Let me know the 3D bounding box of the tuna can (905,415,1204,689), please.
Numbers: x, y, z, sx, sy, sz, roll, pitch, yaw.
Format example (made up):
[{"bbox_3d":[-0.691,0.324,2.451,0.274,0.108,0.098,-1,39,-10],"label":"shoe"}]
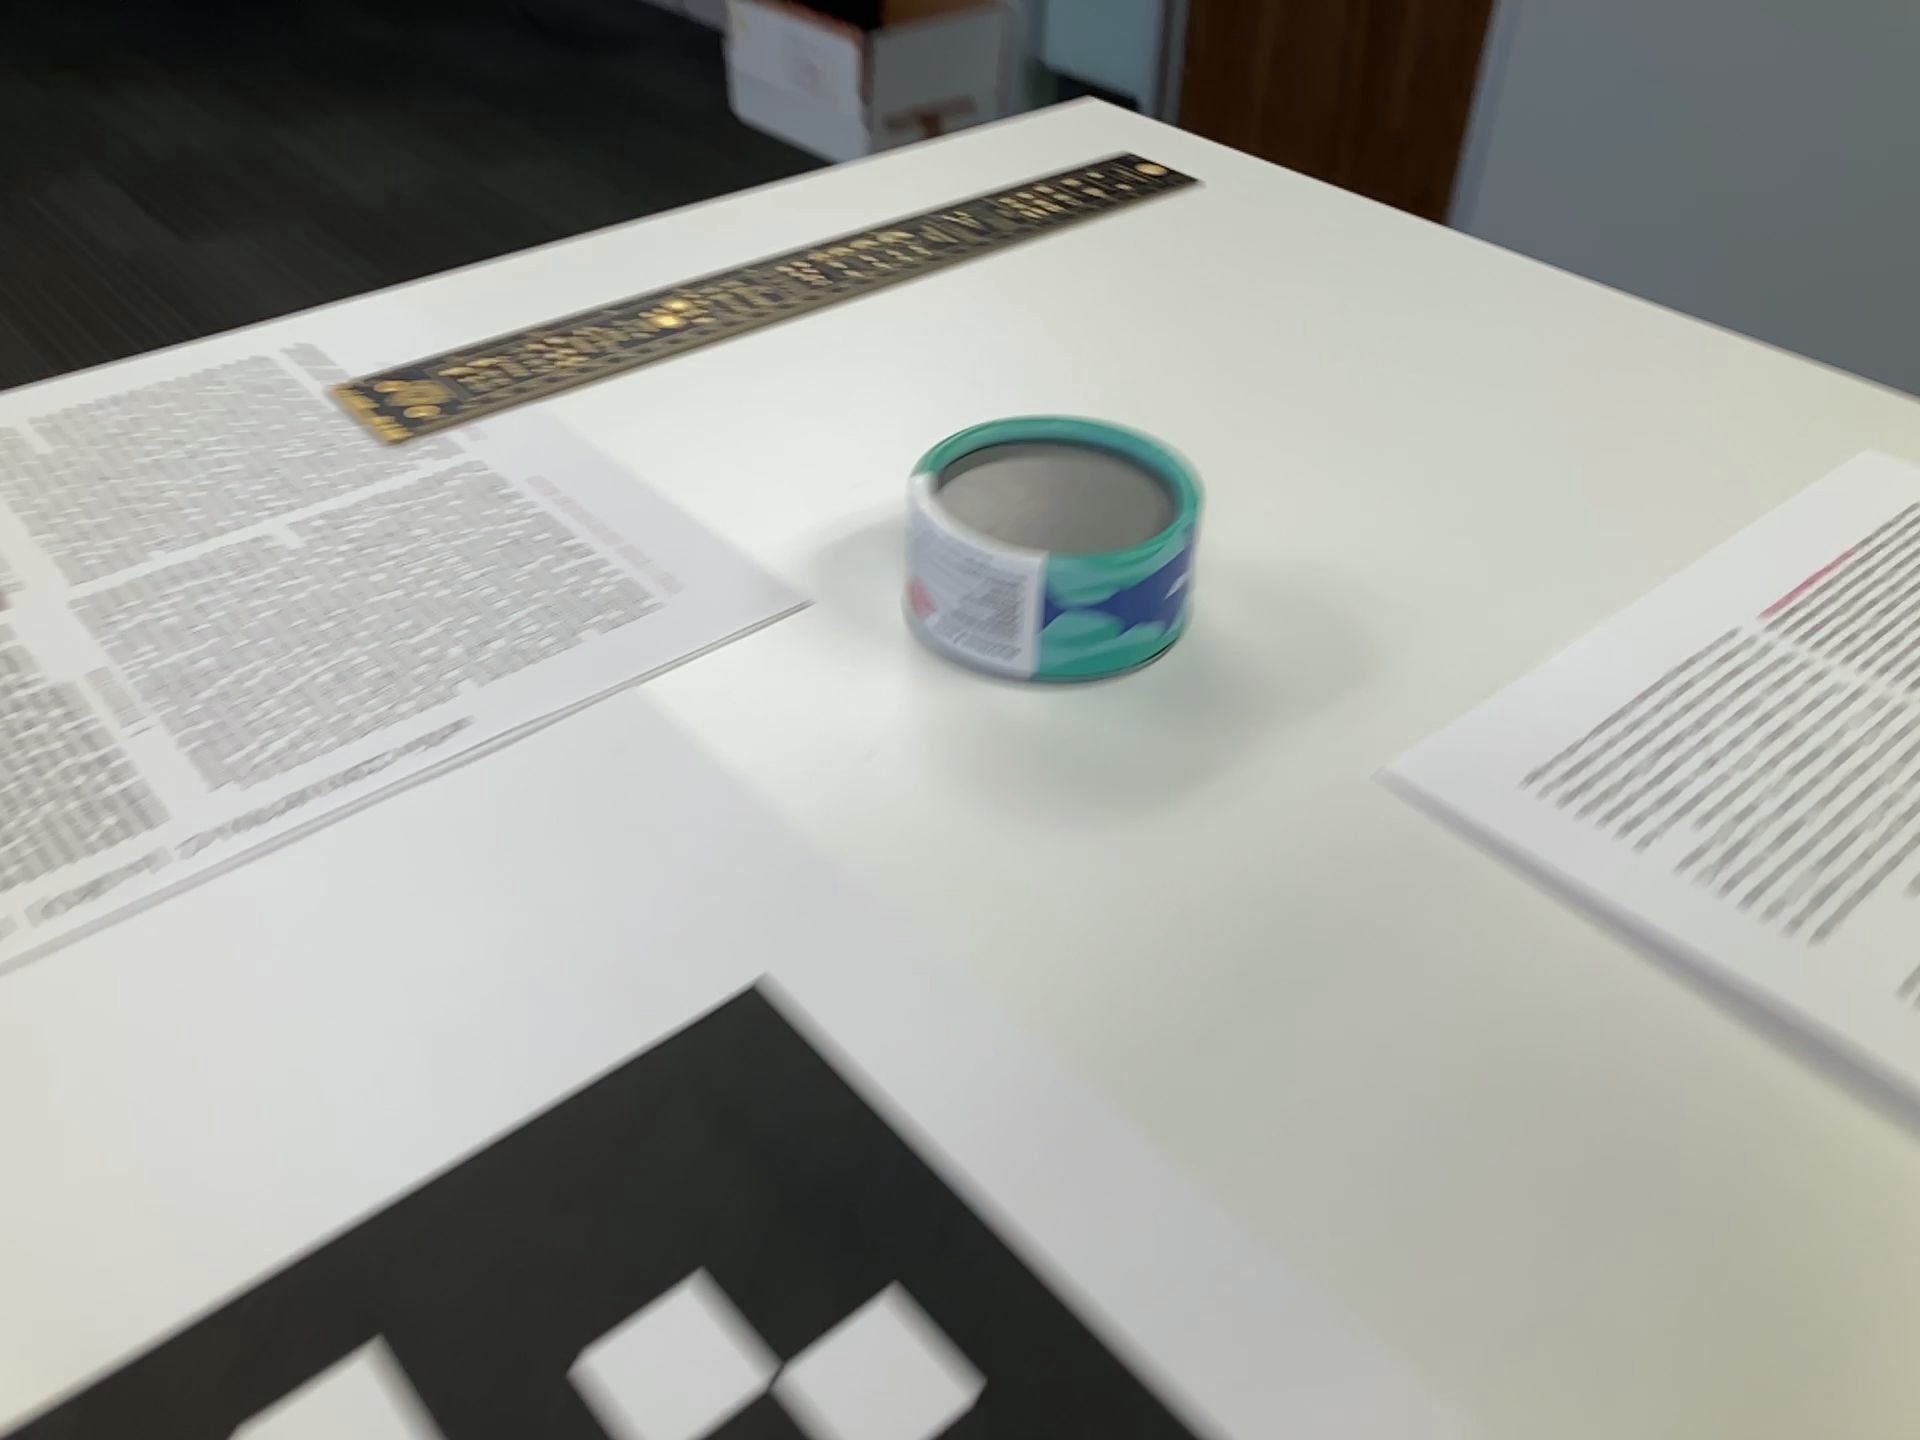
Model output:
[{"bbox_3d":[0.023,-0.041,0.361,0.071,0.033,0.071,2,39,-2],"label":"tuna can"}]
